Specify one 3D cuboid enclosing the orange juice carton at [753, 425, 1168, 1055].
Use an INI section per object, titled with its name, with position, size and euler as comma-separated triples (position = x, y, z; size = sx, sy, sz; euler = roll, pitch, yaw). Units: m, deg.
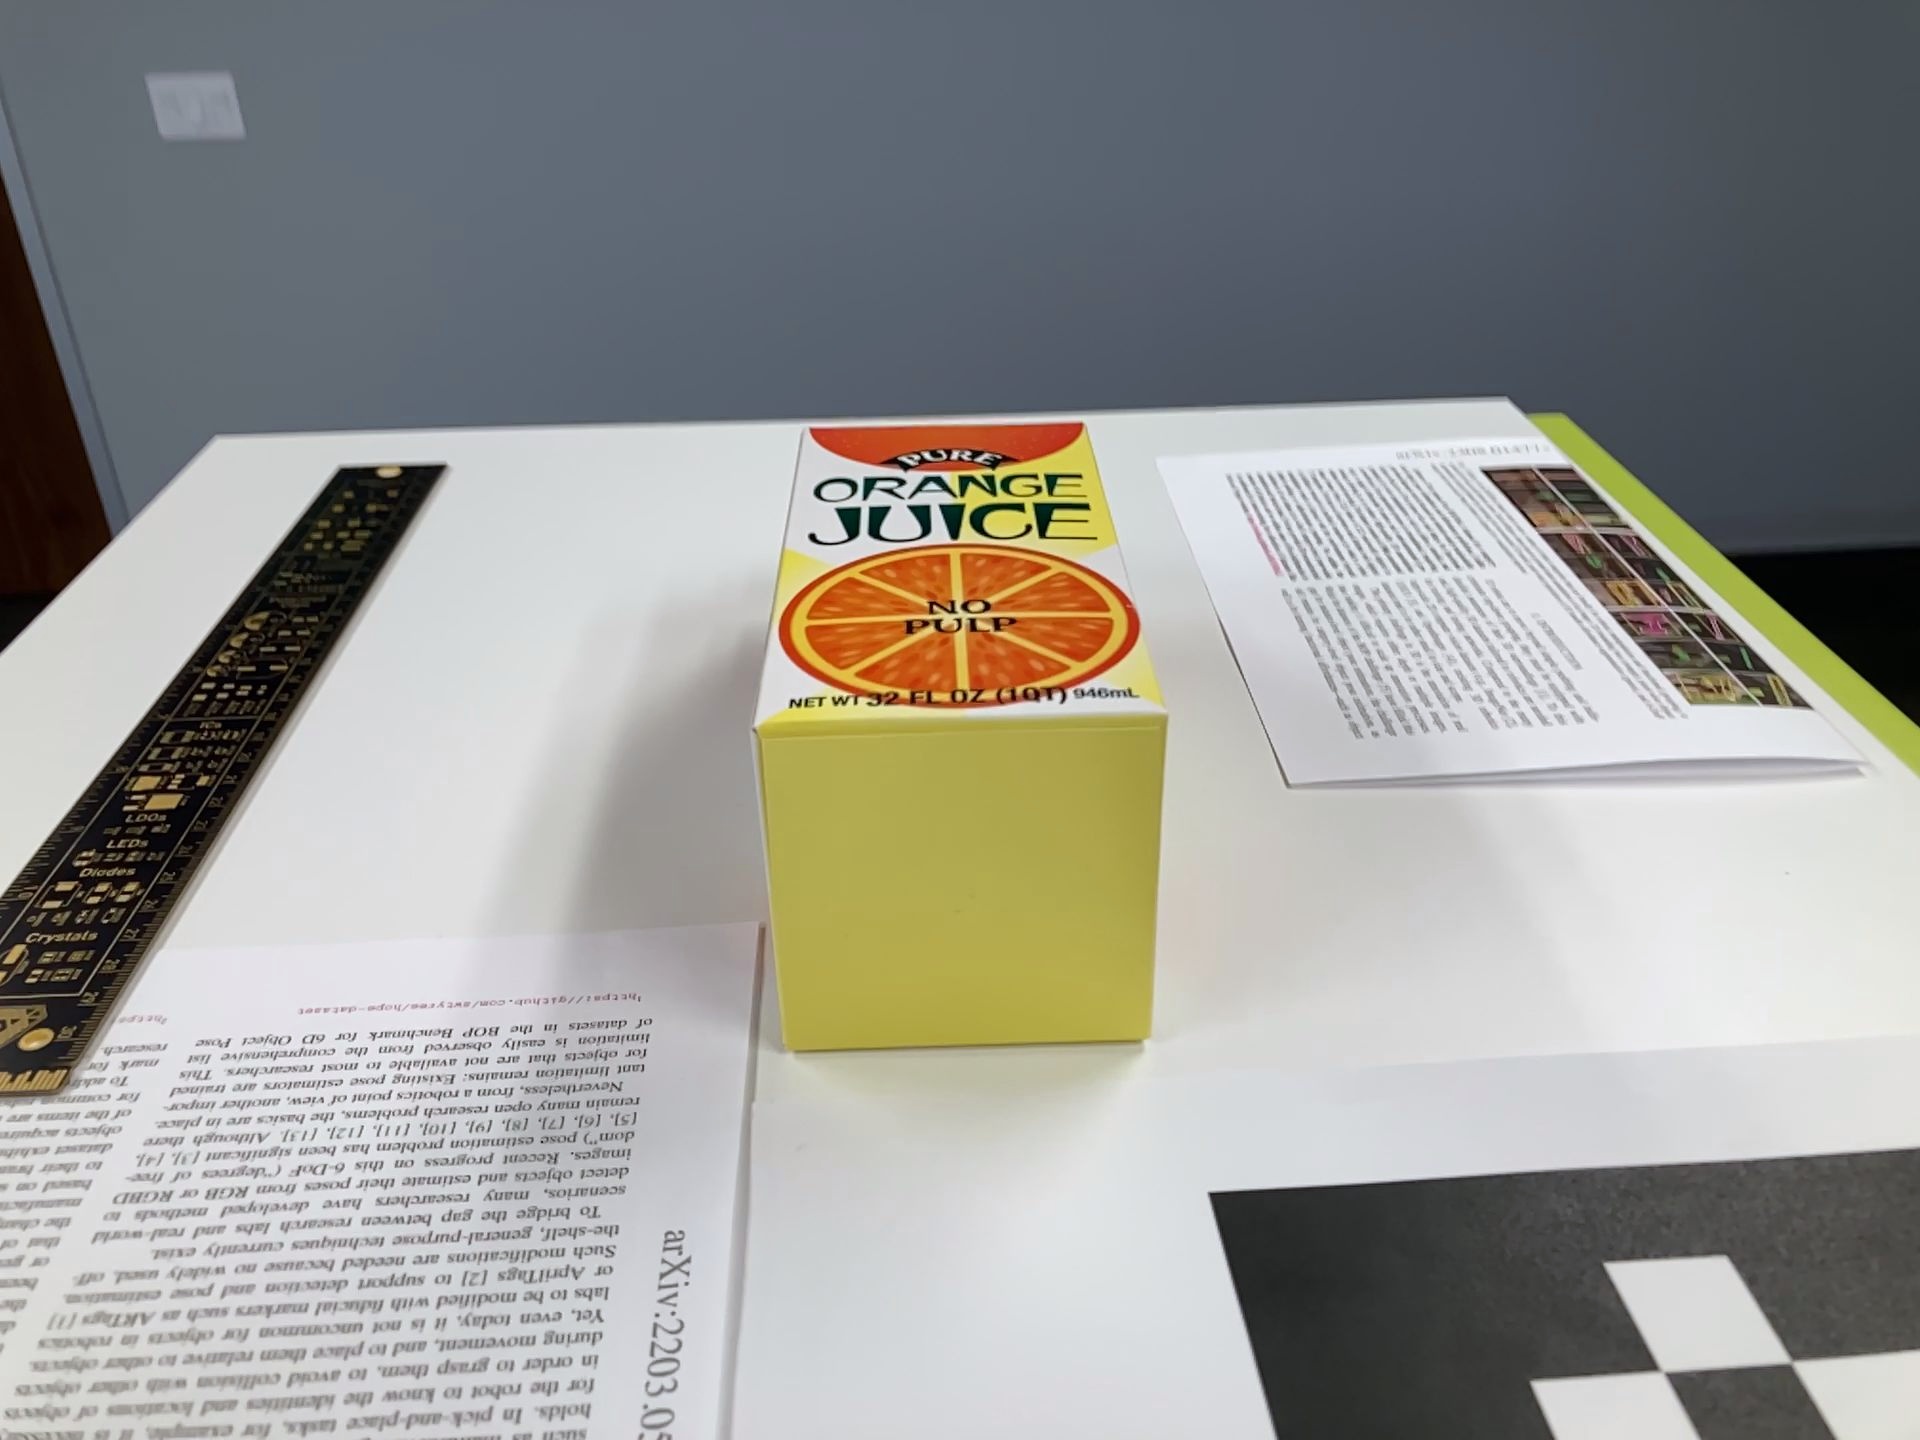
[orange juice carton]
position = -0.002, -0.015, 0.367
size = 0.072, 0.073, 0.192
euler = -2, 30, -1
